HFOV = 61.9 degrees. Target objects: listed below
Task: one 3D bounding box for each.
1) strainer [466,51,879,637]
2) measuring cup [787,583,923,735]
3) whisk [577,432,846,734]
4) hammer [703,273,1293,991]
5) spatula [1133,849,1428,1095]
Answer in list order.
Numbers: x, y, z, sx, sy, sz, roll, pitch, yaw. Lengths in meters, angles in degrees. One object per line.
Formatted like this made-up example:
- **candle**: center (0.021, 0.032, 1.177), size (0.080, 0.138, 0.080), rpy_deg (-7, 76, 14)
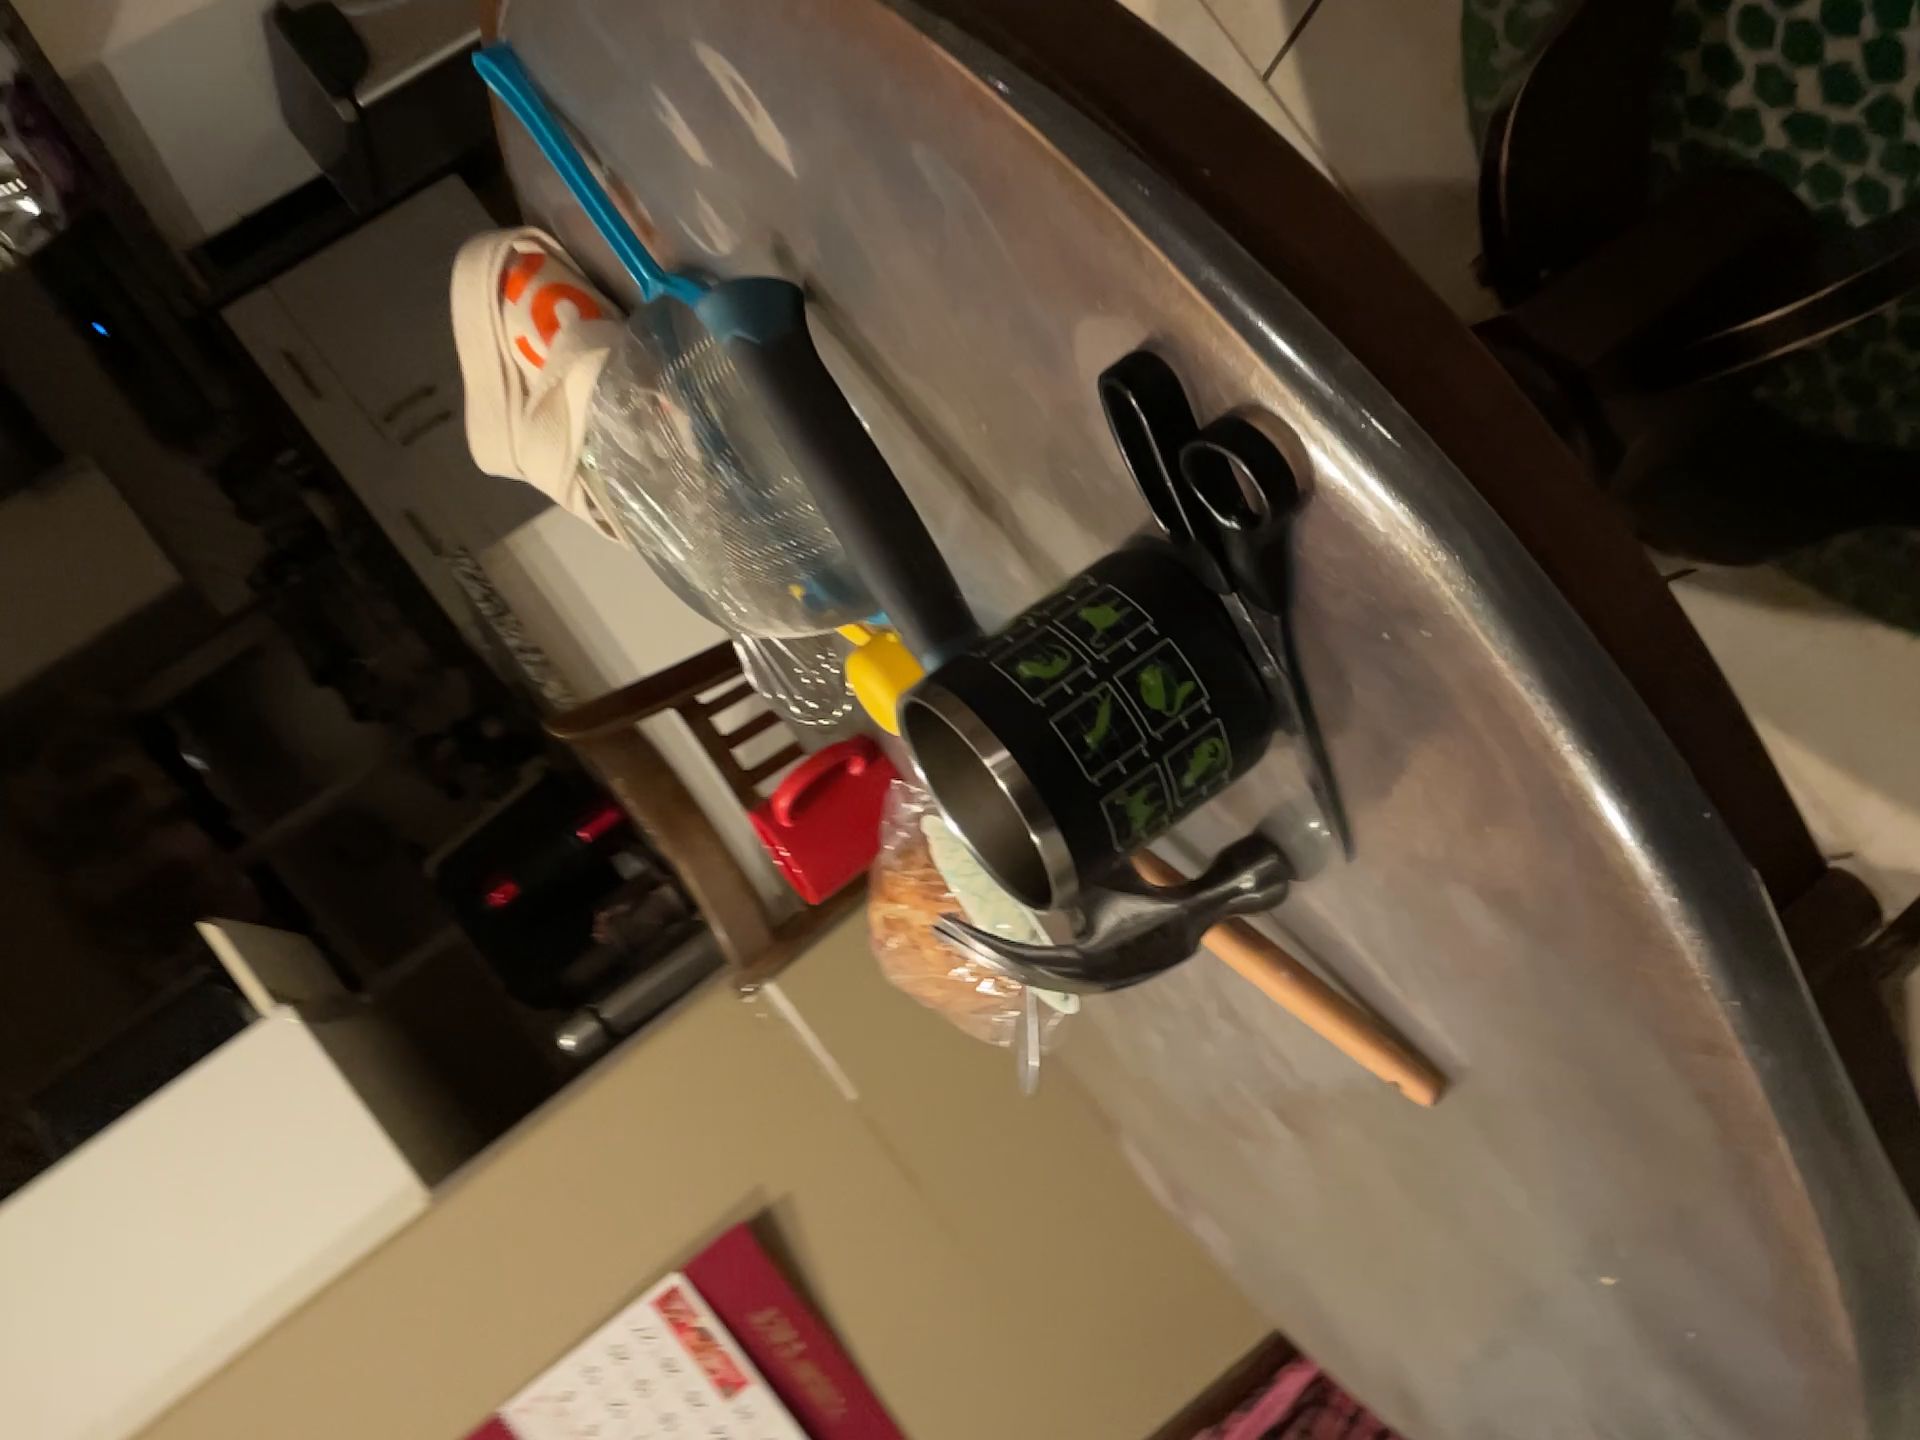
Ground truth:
- **strainer**: center (-0.160, -0.165, 0.808), size (0.340, 0.095, 0.211), rpy_deg (53, 165, -16)
- **measuring cup**: center (-0.069, -0.040, 0.933), size (0.157, 0.029, 0.062), rpy_deg (37, 158, 43)
- **whisk**: center (-0.155, -0.082, 1.008), size (0.246, 0.058, 0.059), rpy_deg (51, -162, -26)
- **hammer**: center (-0.007, -0.043, 0.637), size (0.331, 0.128, 0.033), rpy_deg (59, 164, 12)
- **spatula**: center (0.081, 0.052, 0.707), size (0.318, 0.044, 0.082), rpy_deg (39, 159, 32)
